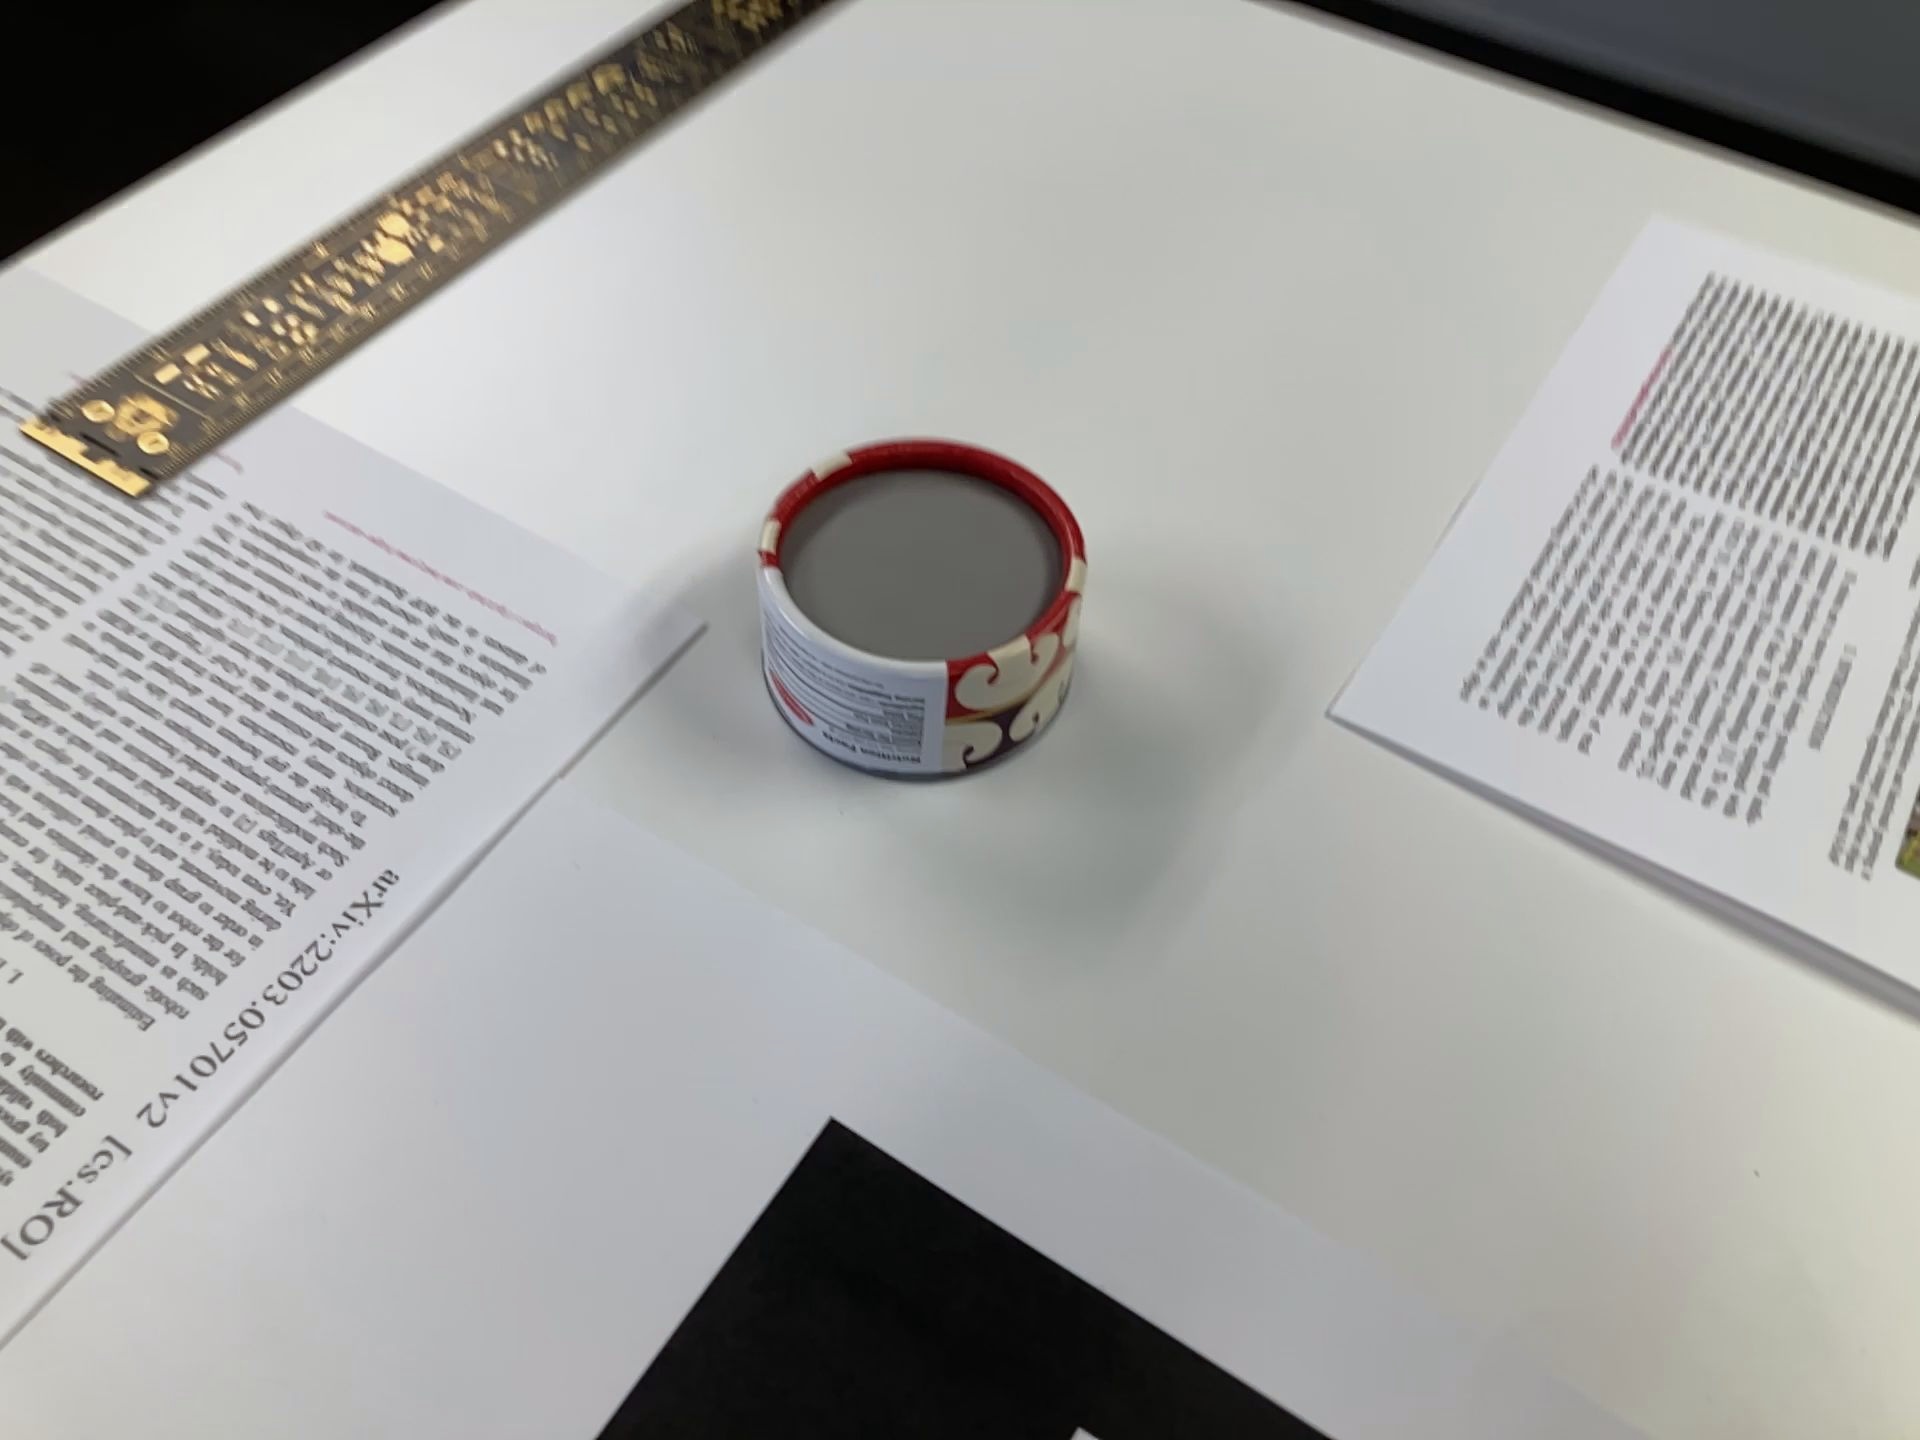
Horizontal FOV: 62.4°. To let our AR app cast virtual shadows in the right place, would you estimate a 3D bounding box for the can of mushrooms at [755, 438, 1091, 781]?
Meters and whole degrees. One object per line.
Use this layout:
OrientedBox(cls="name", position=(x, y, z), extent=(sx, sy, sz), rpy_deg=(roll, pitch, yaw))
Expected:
OrientedBox(cls="can of mushrooms", position=(-0.007, -0.025, 0.321), extent=(0.071, 0.033, 0.071), rpy_deg=(2, 51, -2))
